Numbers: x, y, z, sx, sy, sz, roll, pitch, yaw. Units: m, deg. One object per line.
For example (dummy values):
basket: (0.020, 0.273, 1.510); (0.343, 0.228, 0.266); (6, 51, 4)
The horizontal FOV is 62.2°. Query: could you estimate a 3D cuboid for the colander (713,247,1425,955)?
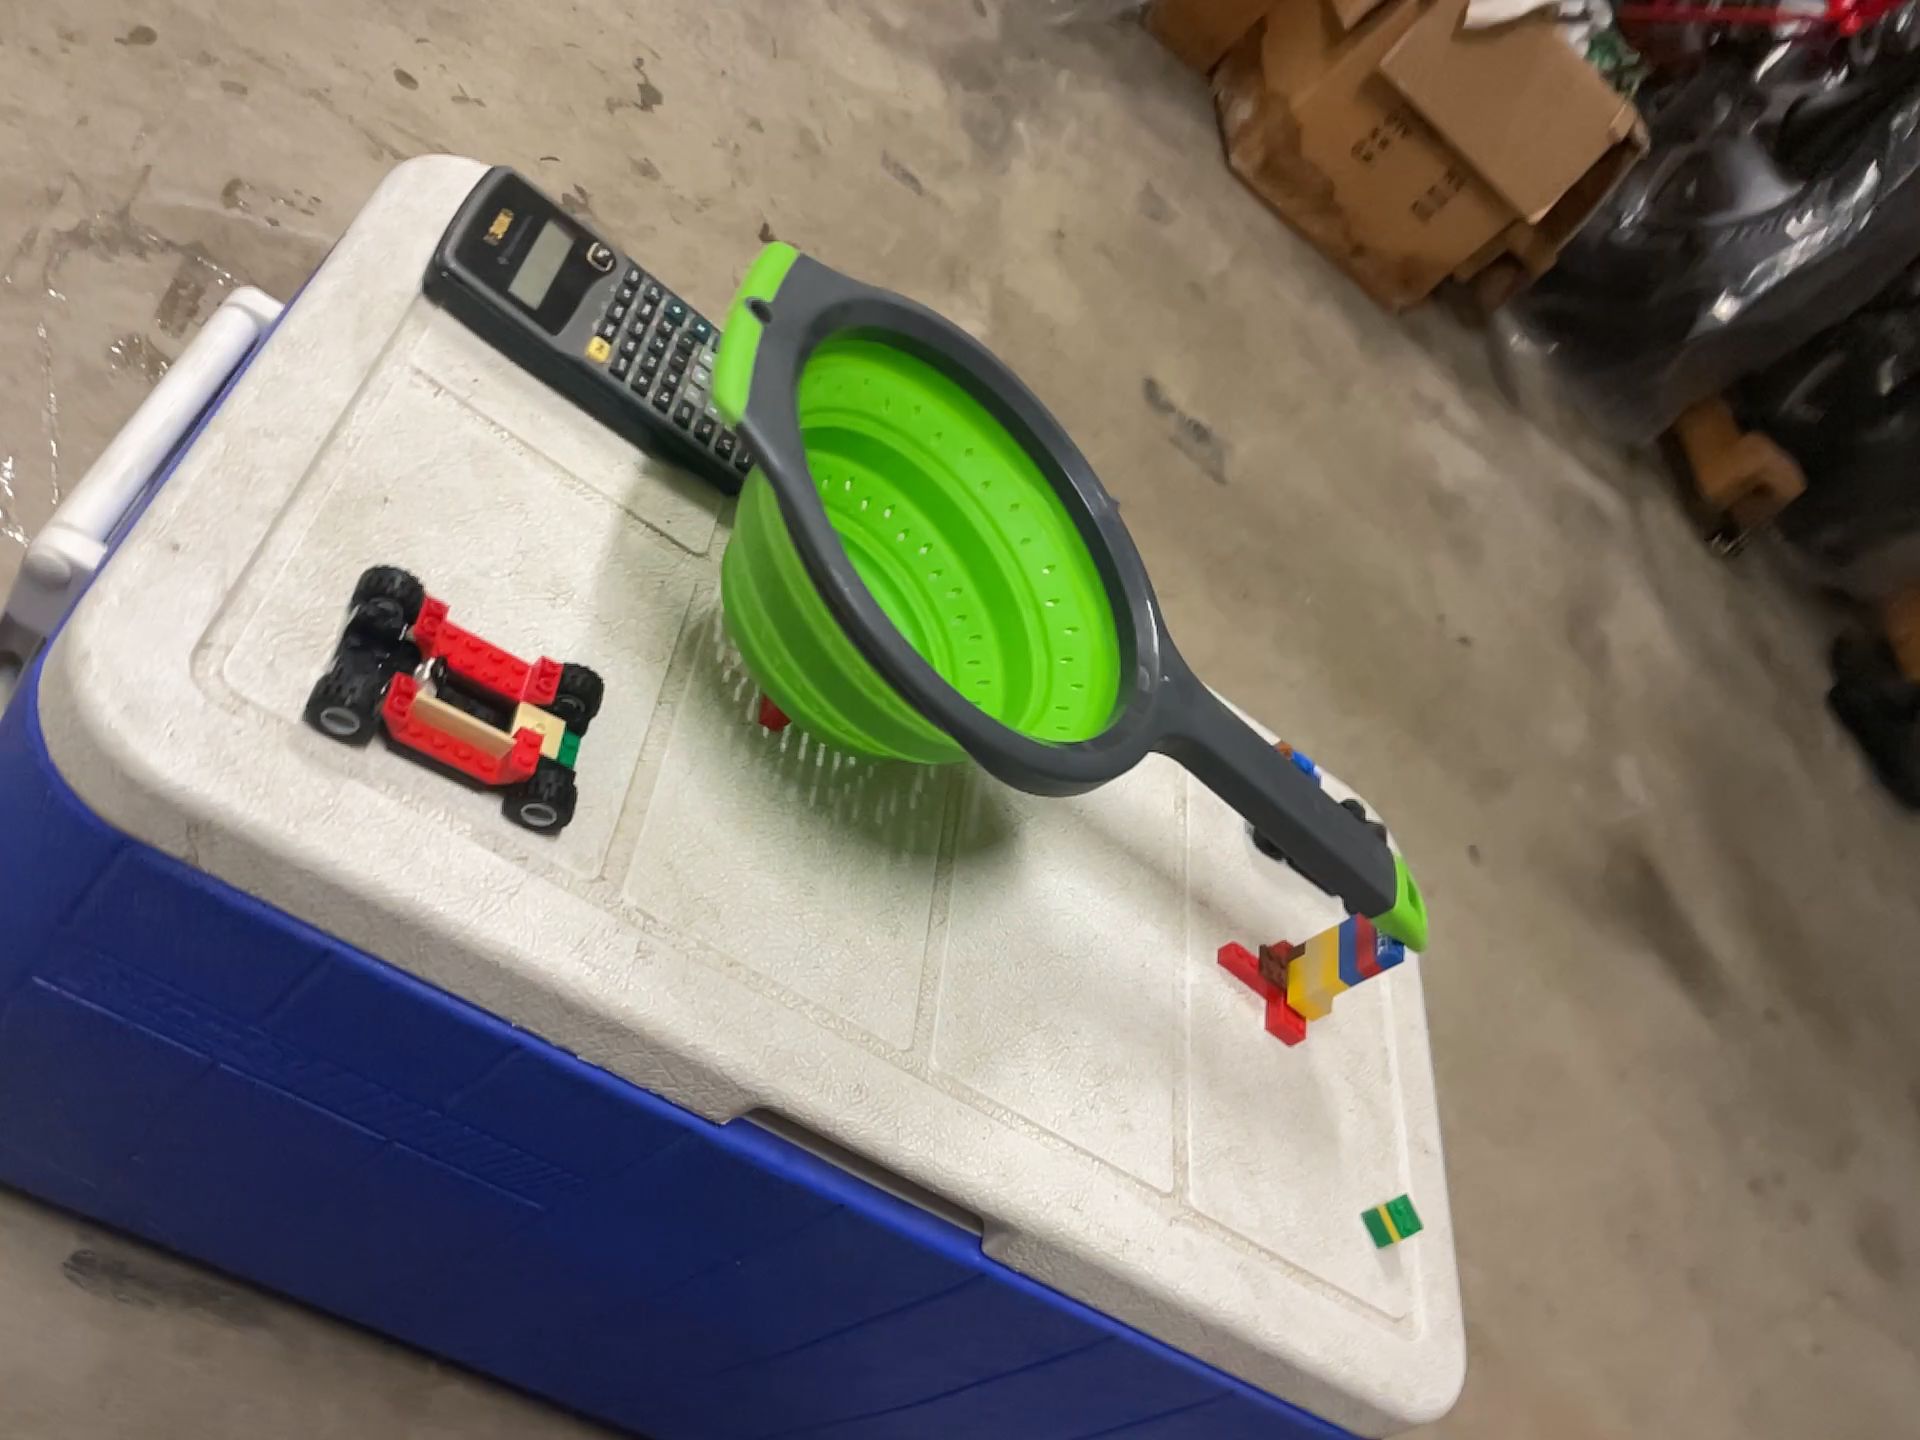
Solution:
colander: (0.037, -0.004, 0.629); (0.397, 0.094, 0.205); (39, 36, -26)
